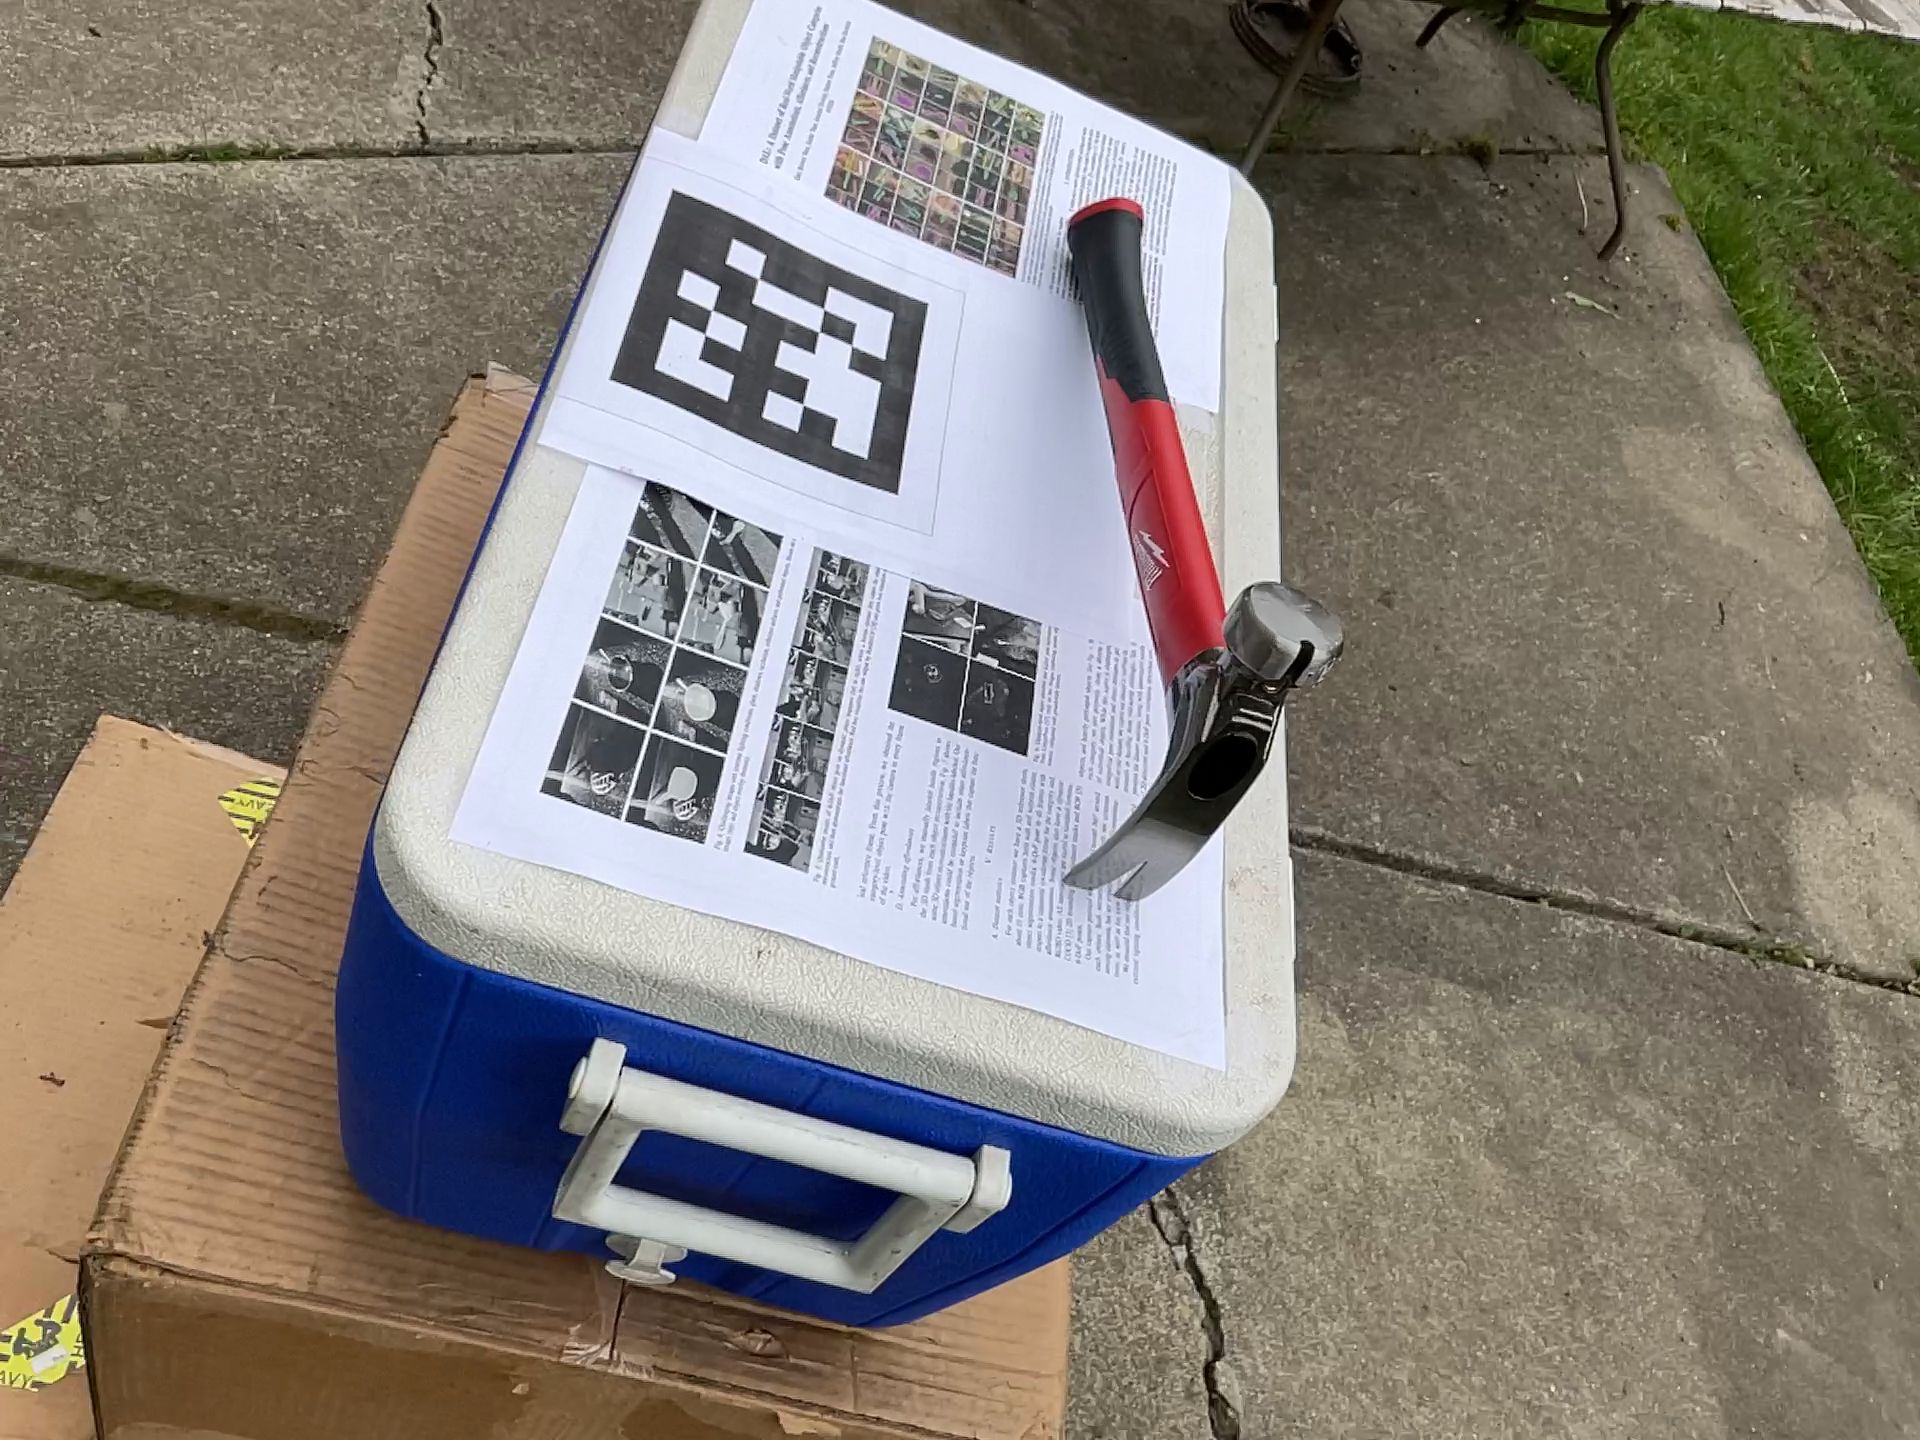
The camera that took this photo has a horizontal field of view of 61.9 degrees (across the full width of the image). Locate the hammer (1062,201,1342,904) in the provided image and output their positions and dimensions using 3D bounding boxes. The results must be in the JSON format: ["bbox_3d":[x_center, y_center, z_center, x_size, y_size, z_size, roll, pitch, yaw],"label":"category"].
[{"bbox_3d":[0.072,-0.104,0.686,0.038,0.143,0.387,16,40,-18],"label":"hammer"}]
